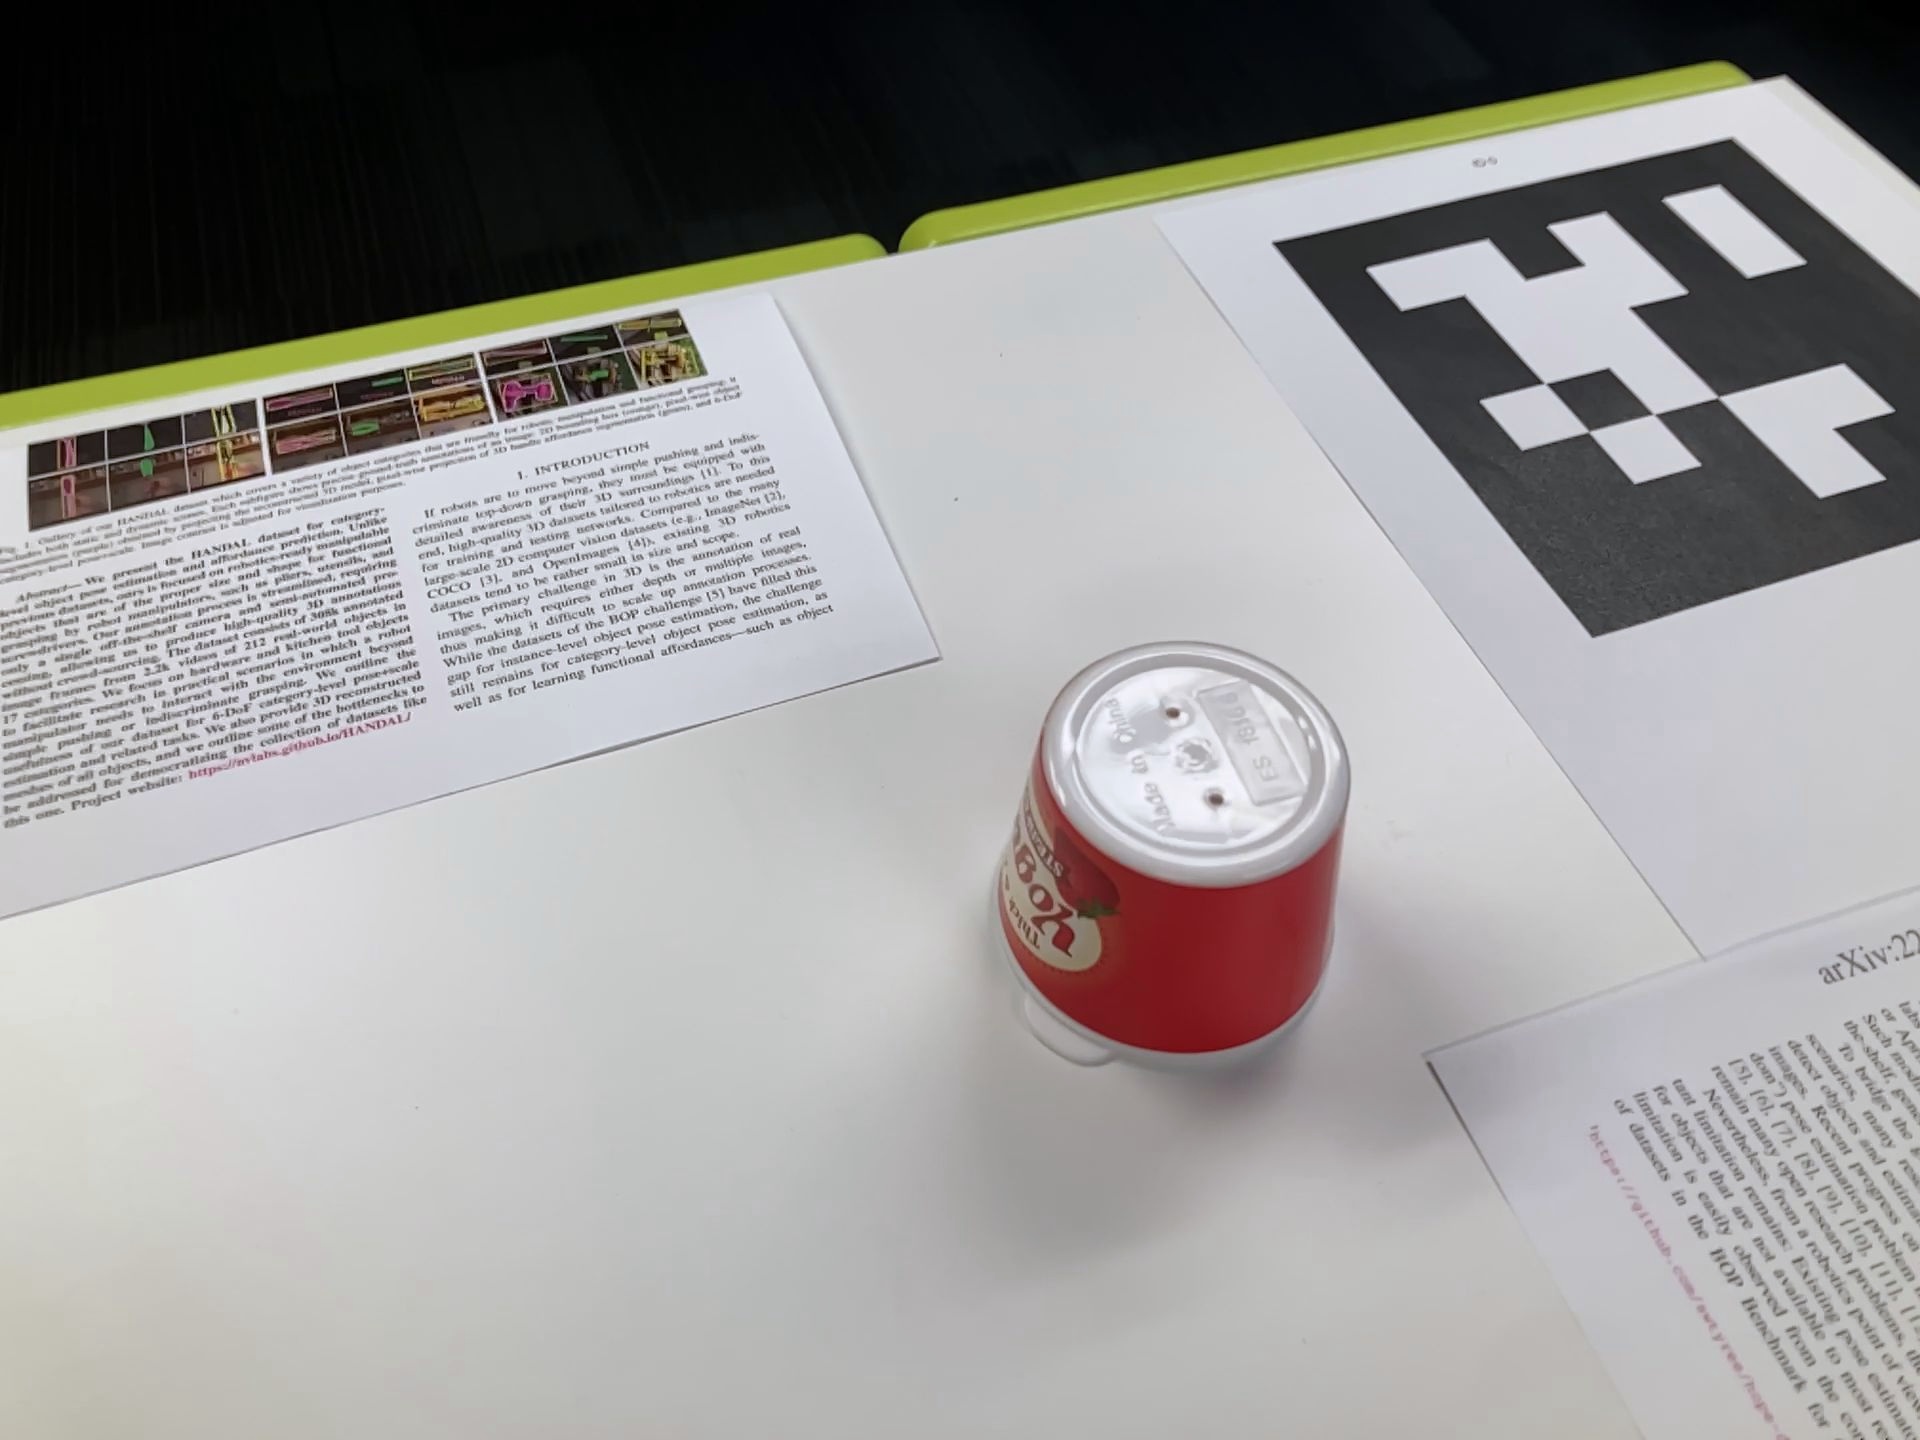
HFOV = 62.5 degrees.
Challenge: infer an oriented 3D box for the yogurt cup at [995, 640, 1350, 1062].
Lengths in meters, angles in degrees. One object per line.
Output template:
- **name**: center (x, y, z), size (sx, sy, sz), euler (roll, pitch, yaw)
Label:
- **yogurt cup**: center (0.041, 0.022, 0.298), size (0.072, 0.054, 0.072), euler (0, 50, 0)
